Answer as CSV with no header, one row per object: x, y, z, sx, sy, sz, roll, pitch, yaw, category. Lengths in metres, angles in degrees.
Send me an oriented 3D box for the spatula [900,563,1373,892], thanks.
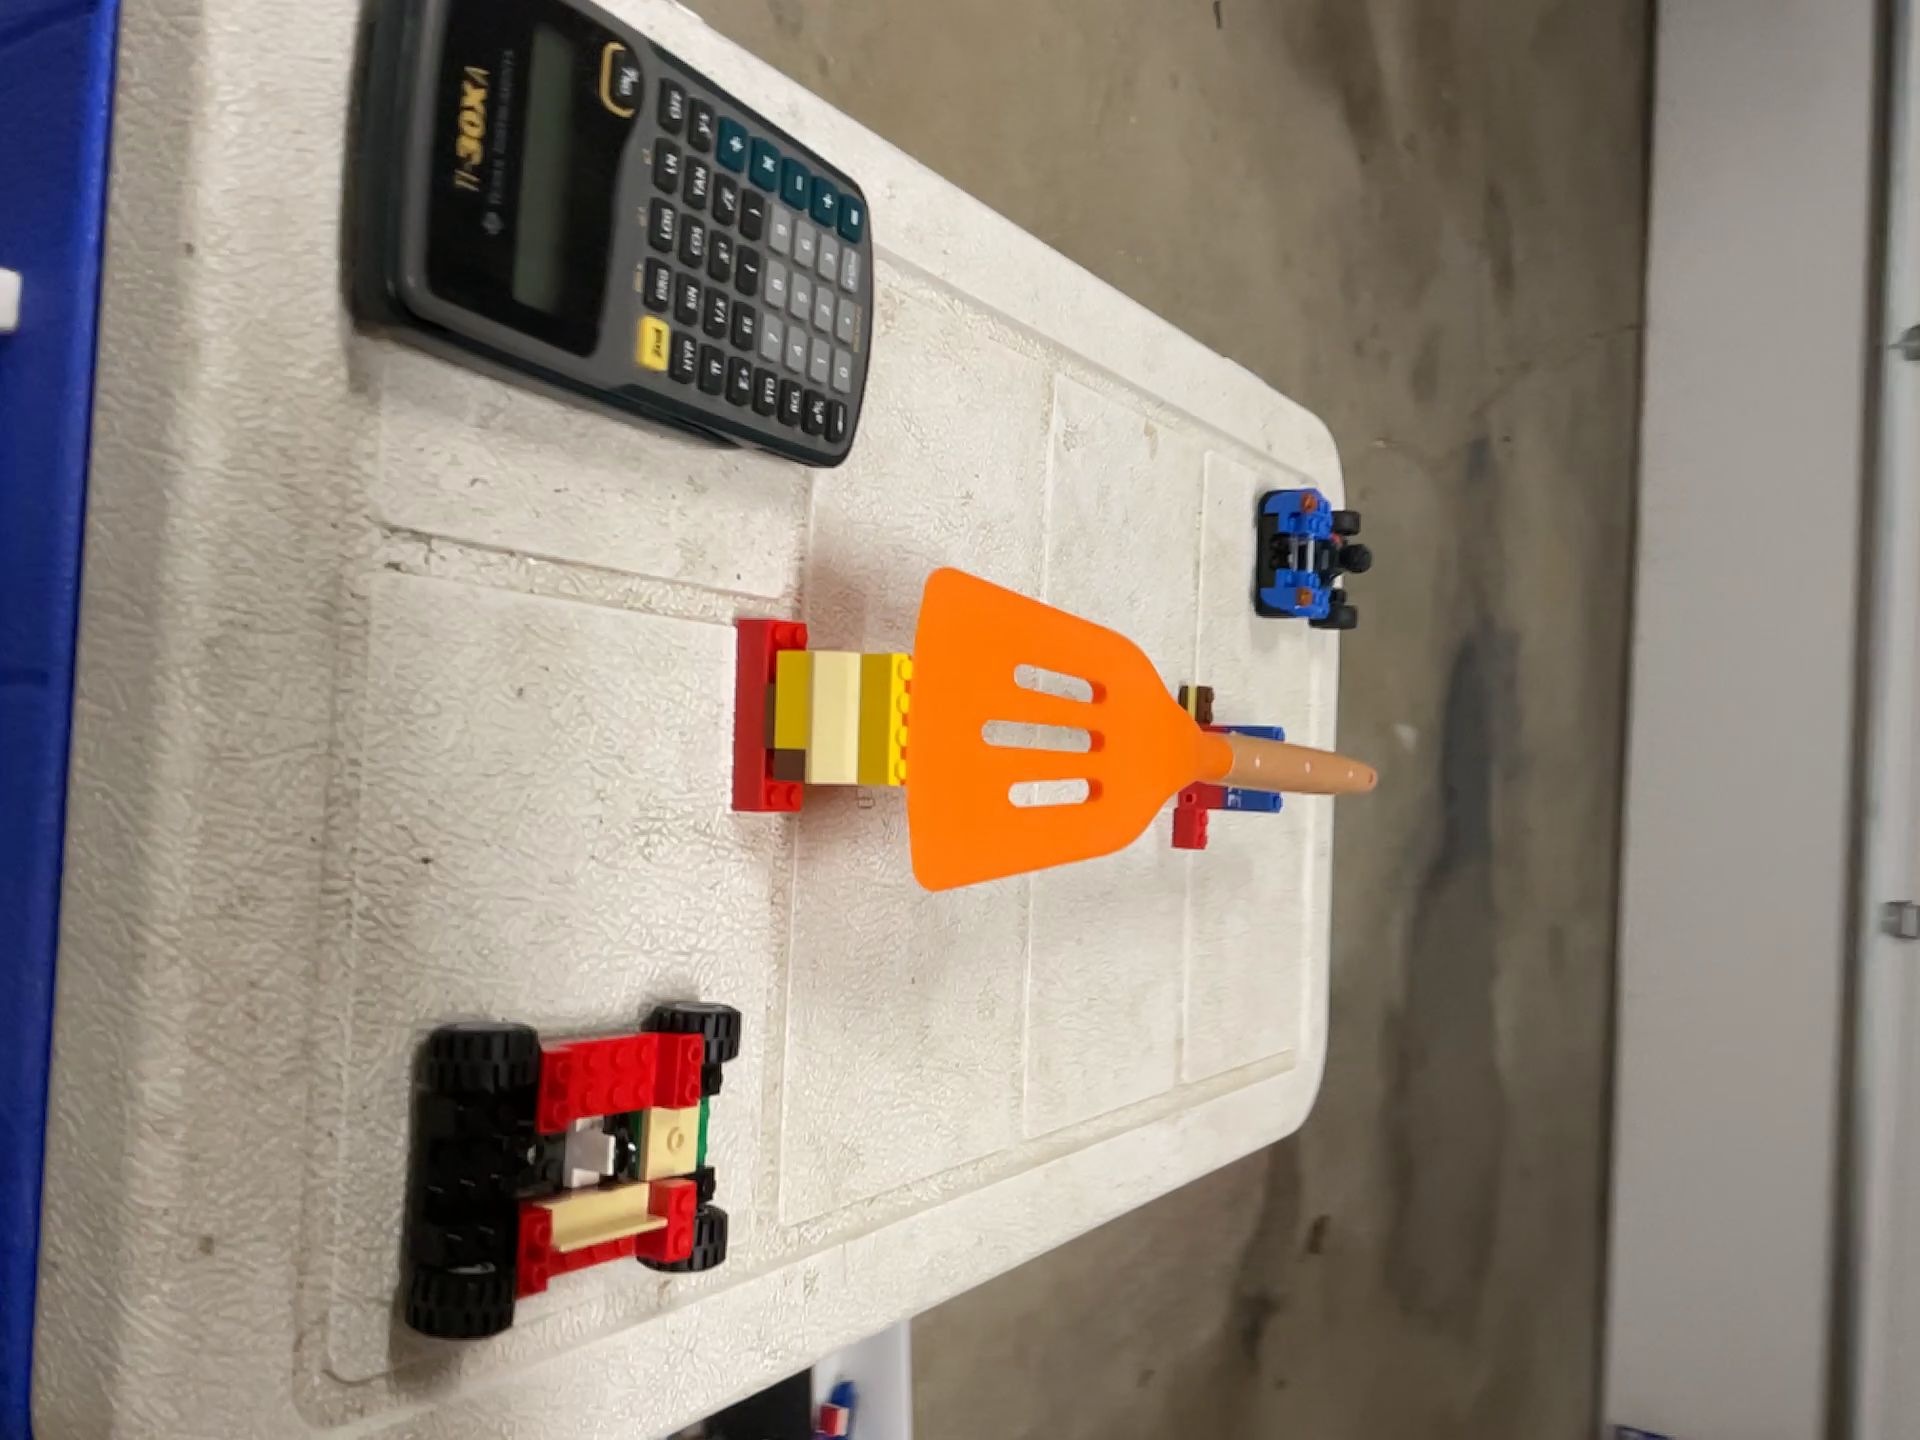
0.079,0.012,0.517,0.322,0.041,0.081,9,83,-62,spatula
